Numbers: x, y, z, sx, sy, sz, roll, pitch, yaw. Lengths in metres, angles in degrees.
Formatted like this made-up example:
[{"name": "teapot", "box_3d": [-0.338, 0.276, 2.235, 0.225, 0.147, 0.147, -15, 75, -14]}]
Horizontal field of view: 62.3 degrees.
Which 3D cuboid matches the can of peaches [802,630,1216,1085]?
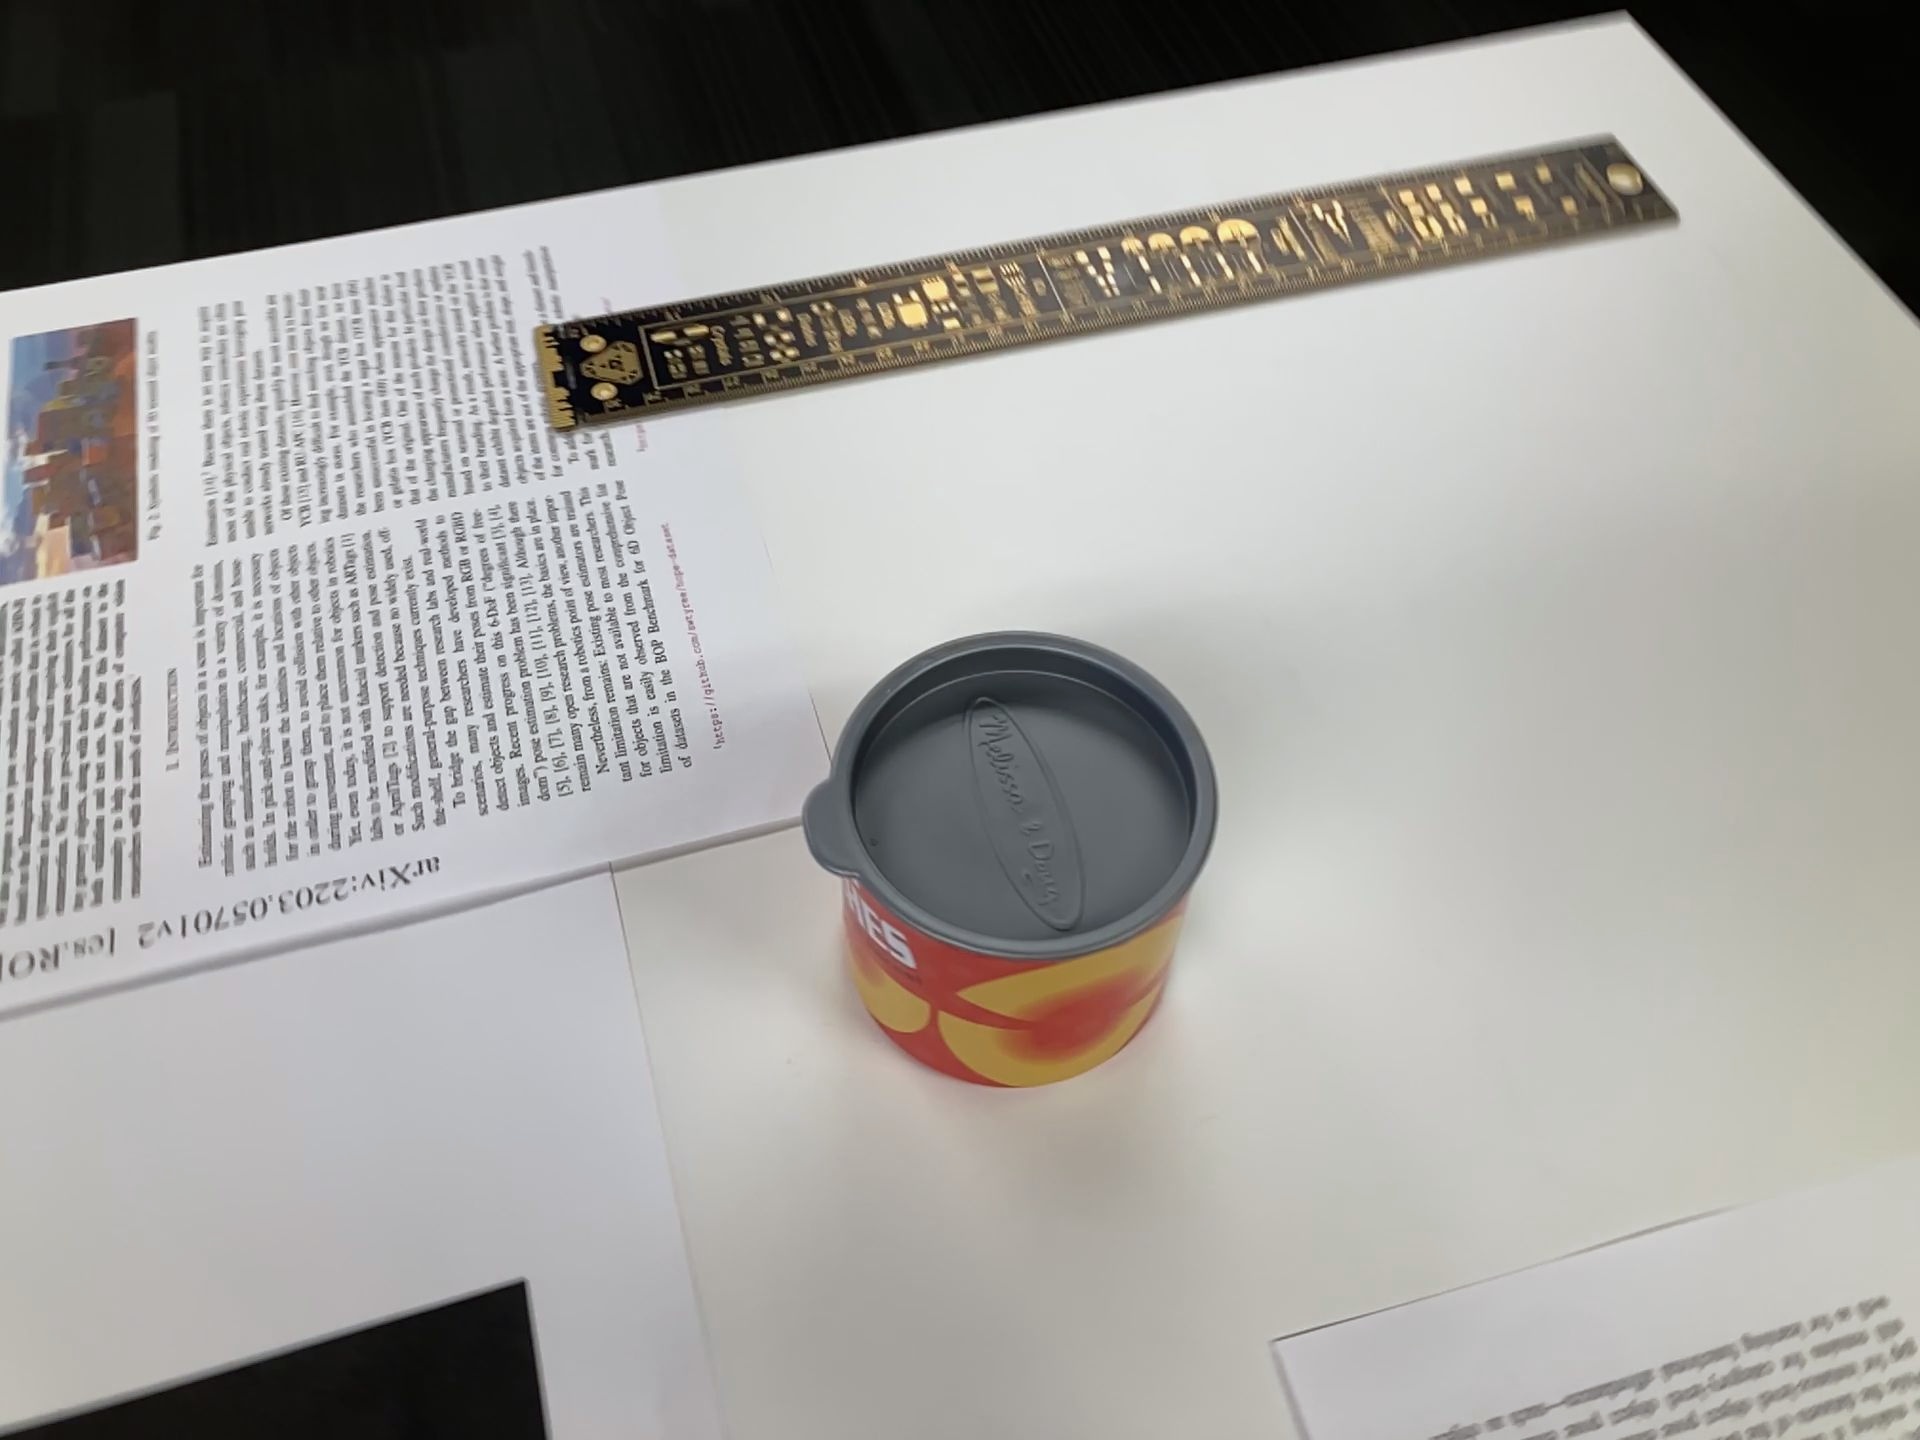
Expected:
[{"name": "can of peaches", "box_3d": [0.008, 0.027, 0.294, 0.071, 0.058, 0.071, 0, 55, 0]}]
